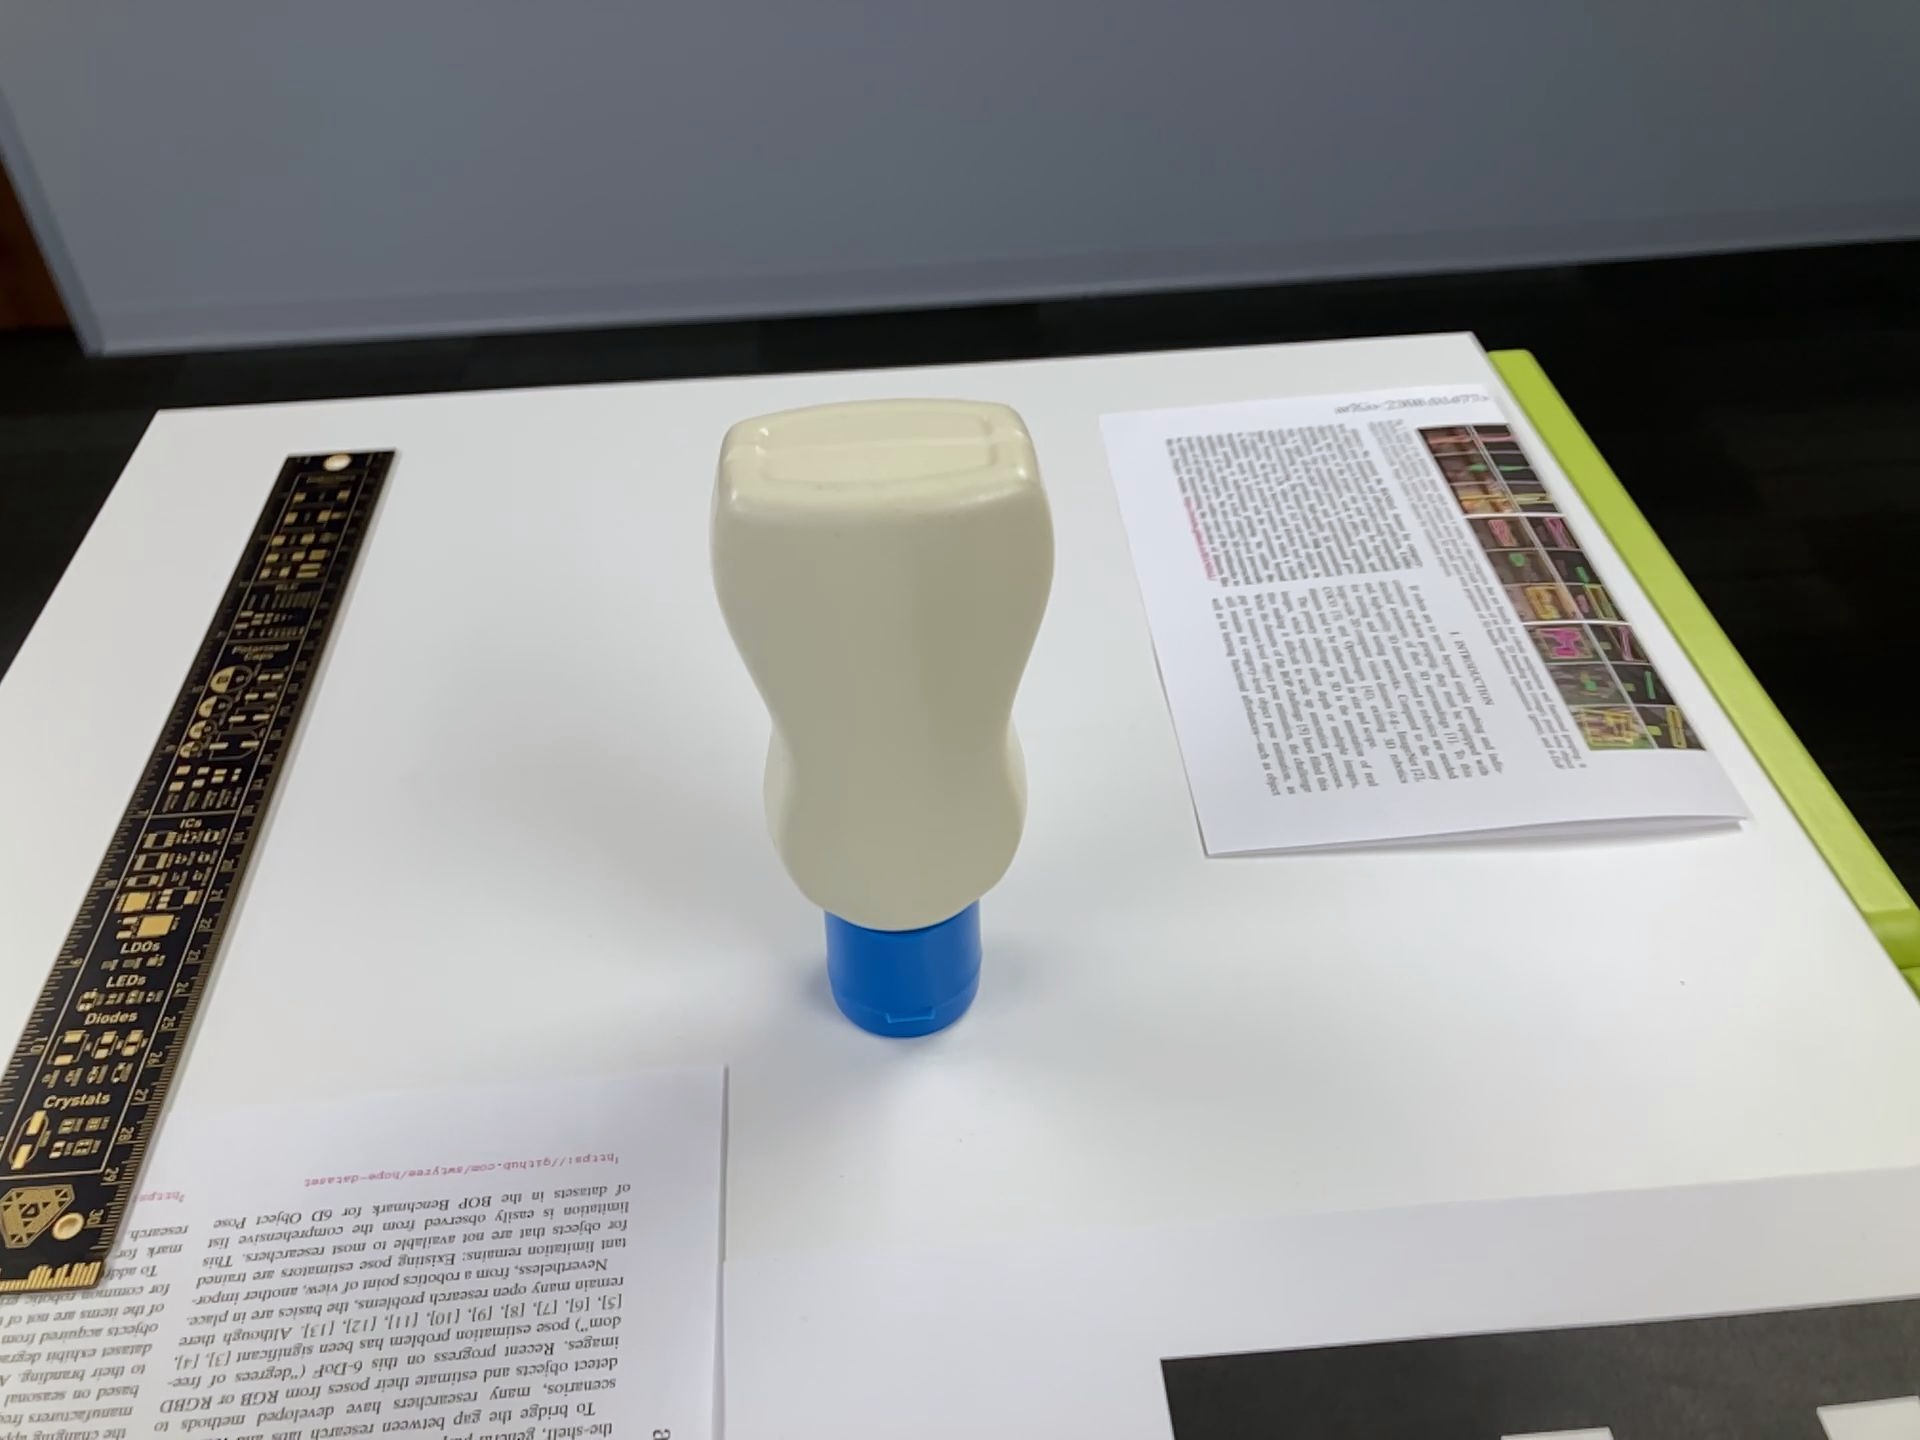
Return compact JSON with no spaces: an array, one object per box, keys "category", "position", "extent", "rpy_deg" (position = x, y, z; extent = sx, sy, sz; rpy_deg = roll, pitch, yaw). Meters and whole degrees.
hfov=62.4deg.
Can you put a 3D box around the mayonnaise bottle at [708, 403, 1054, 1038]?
[{"category":"mayonnaise bottle","position":[-0.014,0.007,0.334],"extent":[0.065,0.148,0.041],"rpy_deg":[-4,41,-4]}]
